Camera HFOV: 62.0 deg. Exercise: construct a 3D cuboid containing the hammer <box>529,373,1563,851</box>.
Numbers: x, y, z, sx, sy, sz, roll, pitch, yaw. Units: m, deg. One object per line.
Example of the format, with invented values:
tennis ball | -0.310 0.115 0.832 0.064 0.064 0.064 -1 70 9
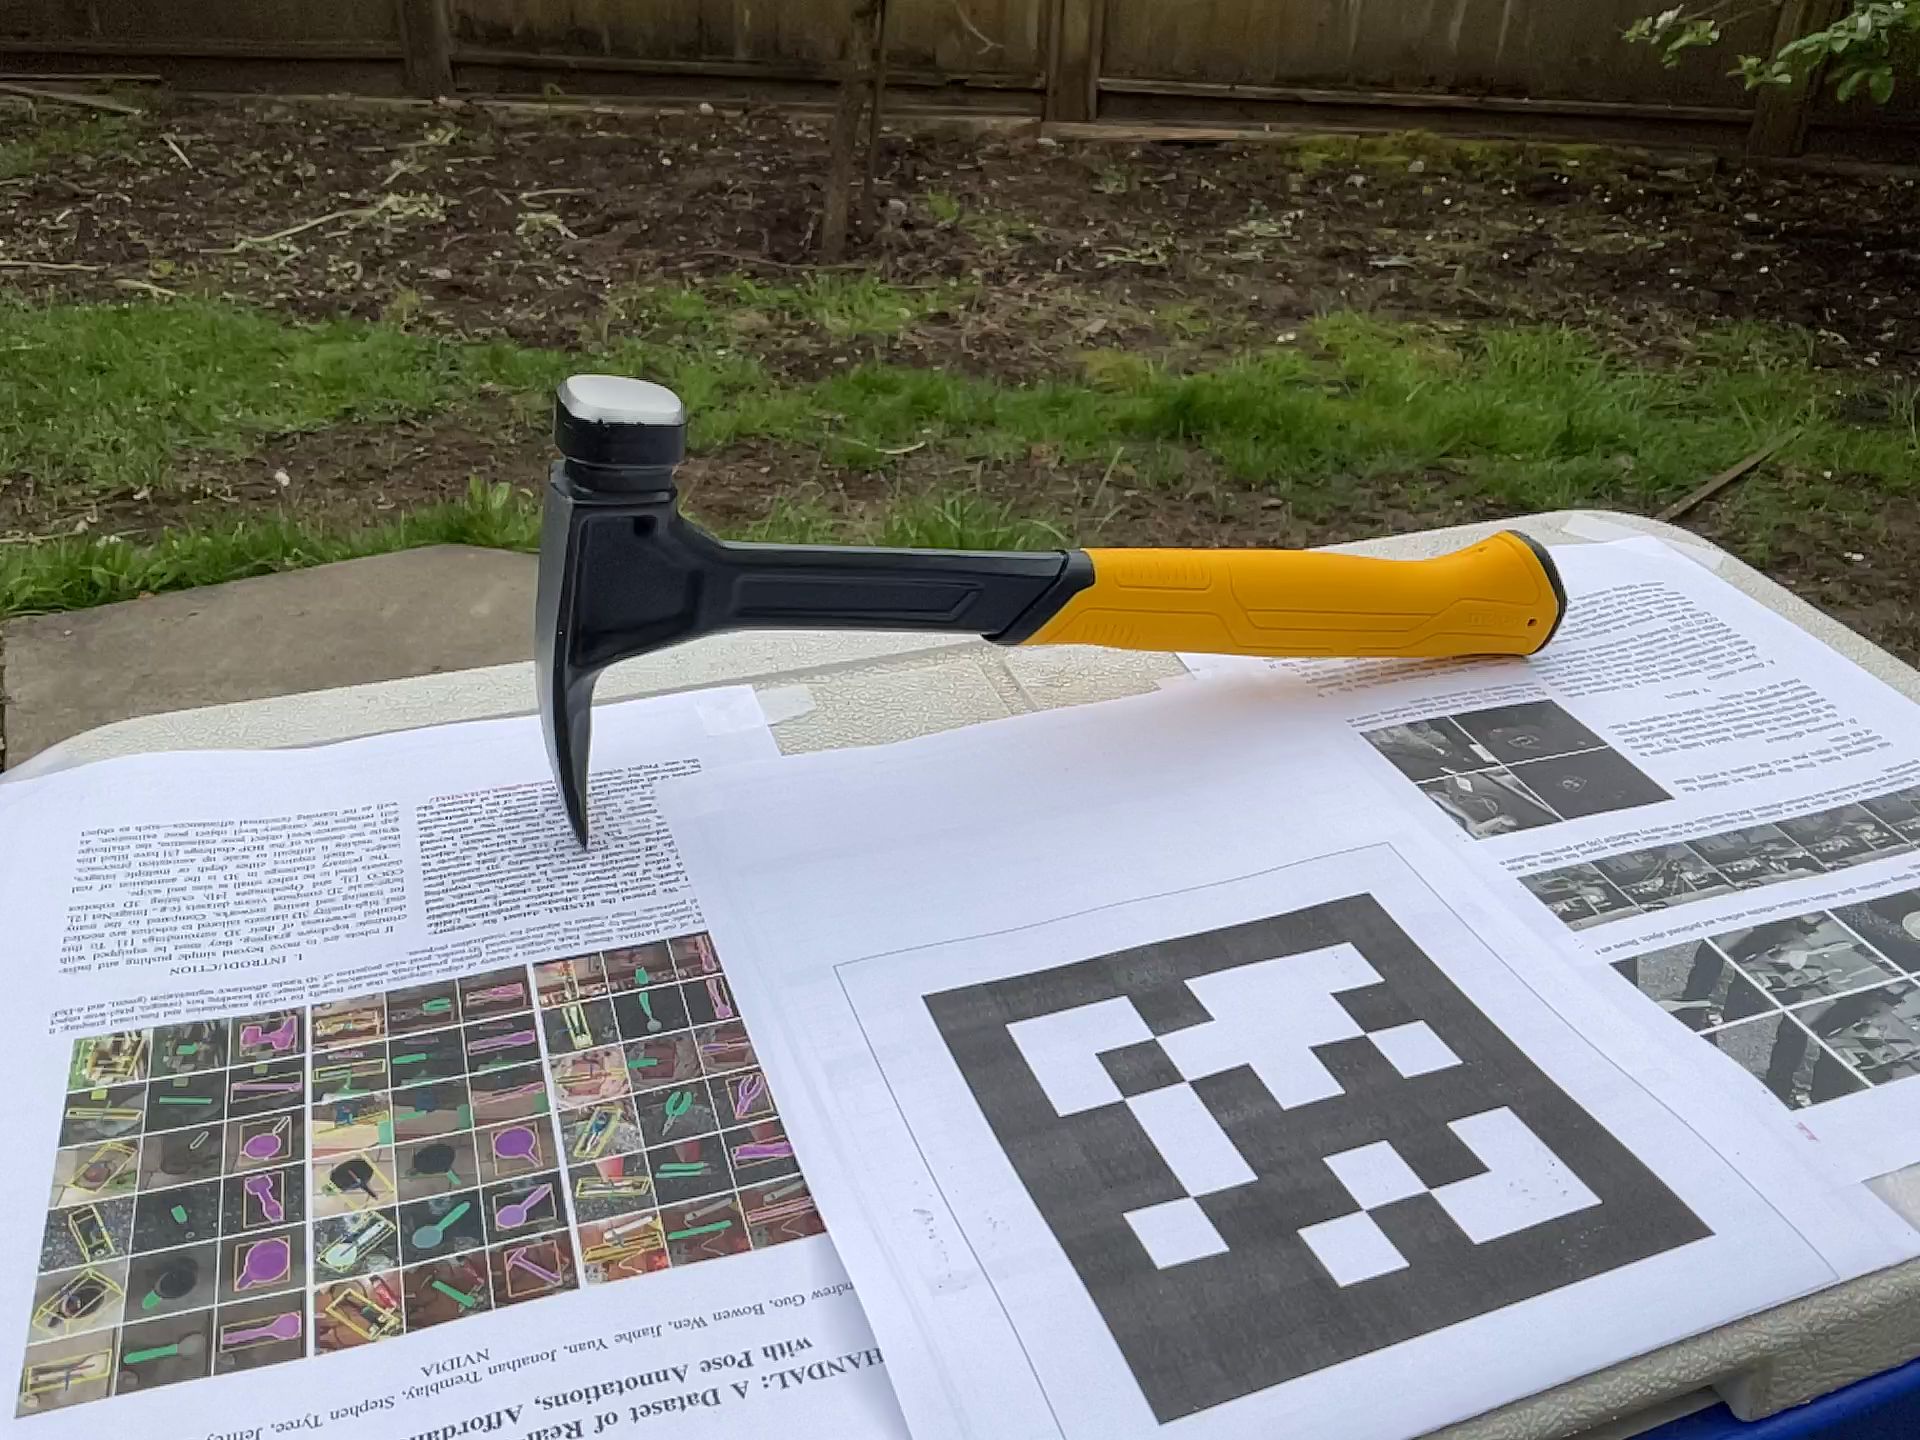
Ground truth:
hammer | 0.042 -0.029 0.484 0.336 0.127 0.034 -1 31 -24
